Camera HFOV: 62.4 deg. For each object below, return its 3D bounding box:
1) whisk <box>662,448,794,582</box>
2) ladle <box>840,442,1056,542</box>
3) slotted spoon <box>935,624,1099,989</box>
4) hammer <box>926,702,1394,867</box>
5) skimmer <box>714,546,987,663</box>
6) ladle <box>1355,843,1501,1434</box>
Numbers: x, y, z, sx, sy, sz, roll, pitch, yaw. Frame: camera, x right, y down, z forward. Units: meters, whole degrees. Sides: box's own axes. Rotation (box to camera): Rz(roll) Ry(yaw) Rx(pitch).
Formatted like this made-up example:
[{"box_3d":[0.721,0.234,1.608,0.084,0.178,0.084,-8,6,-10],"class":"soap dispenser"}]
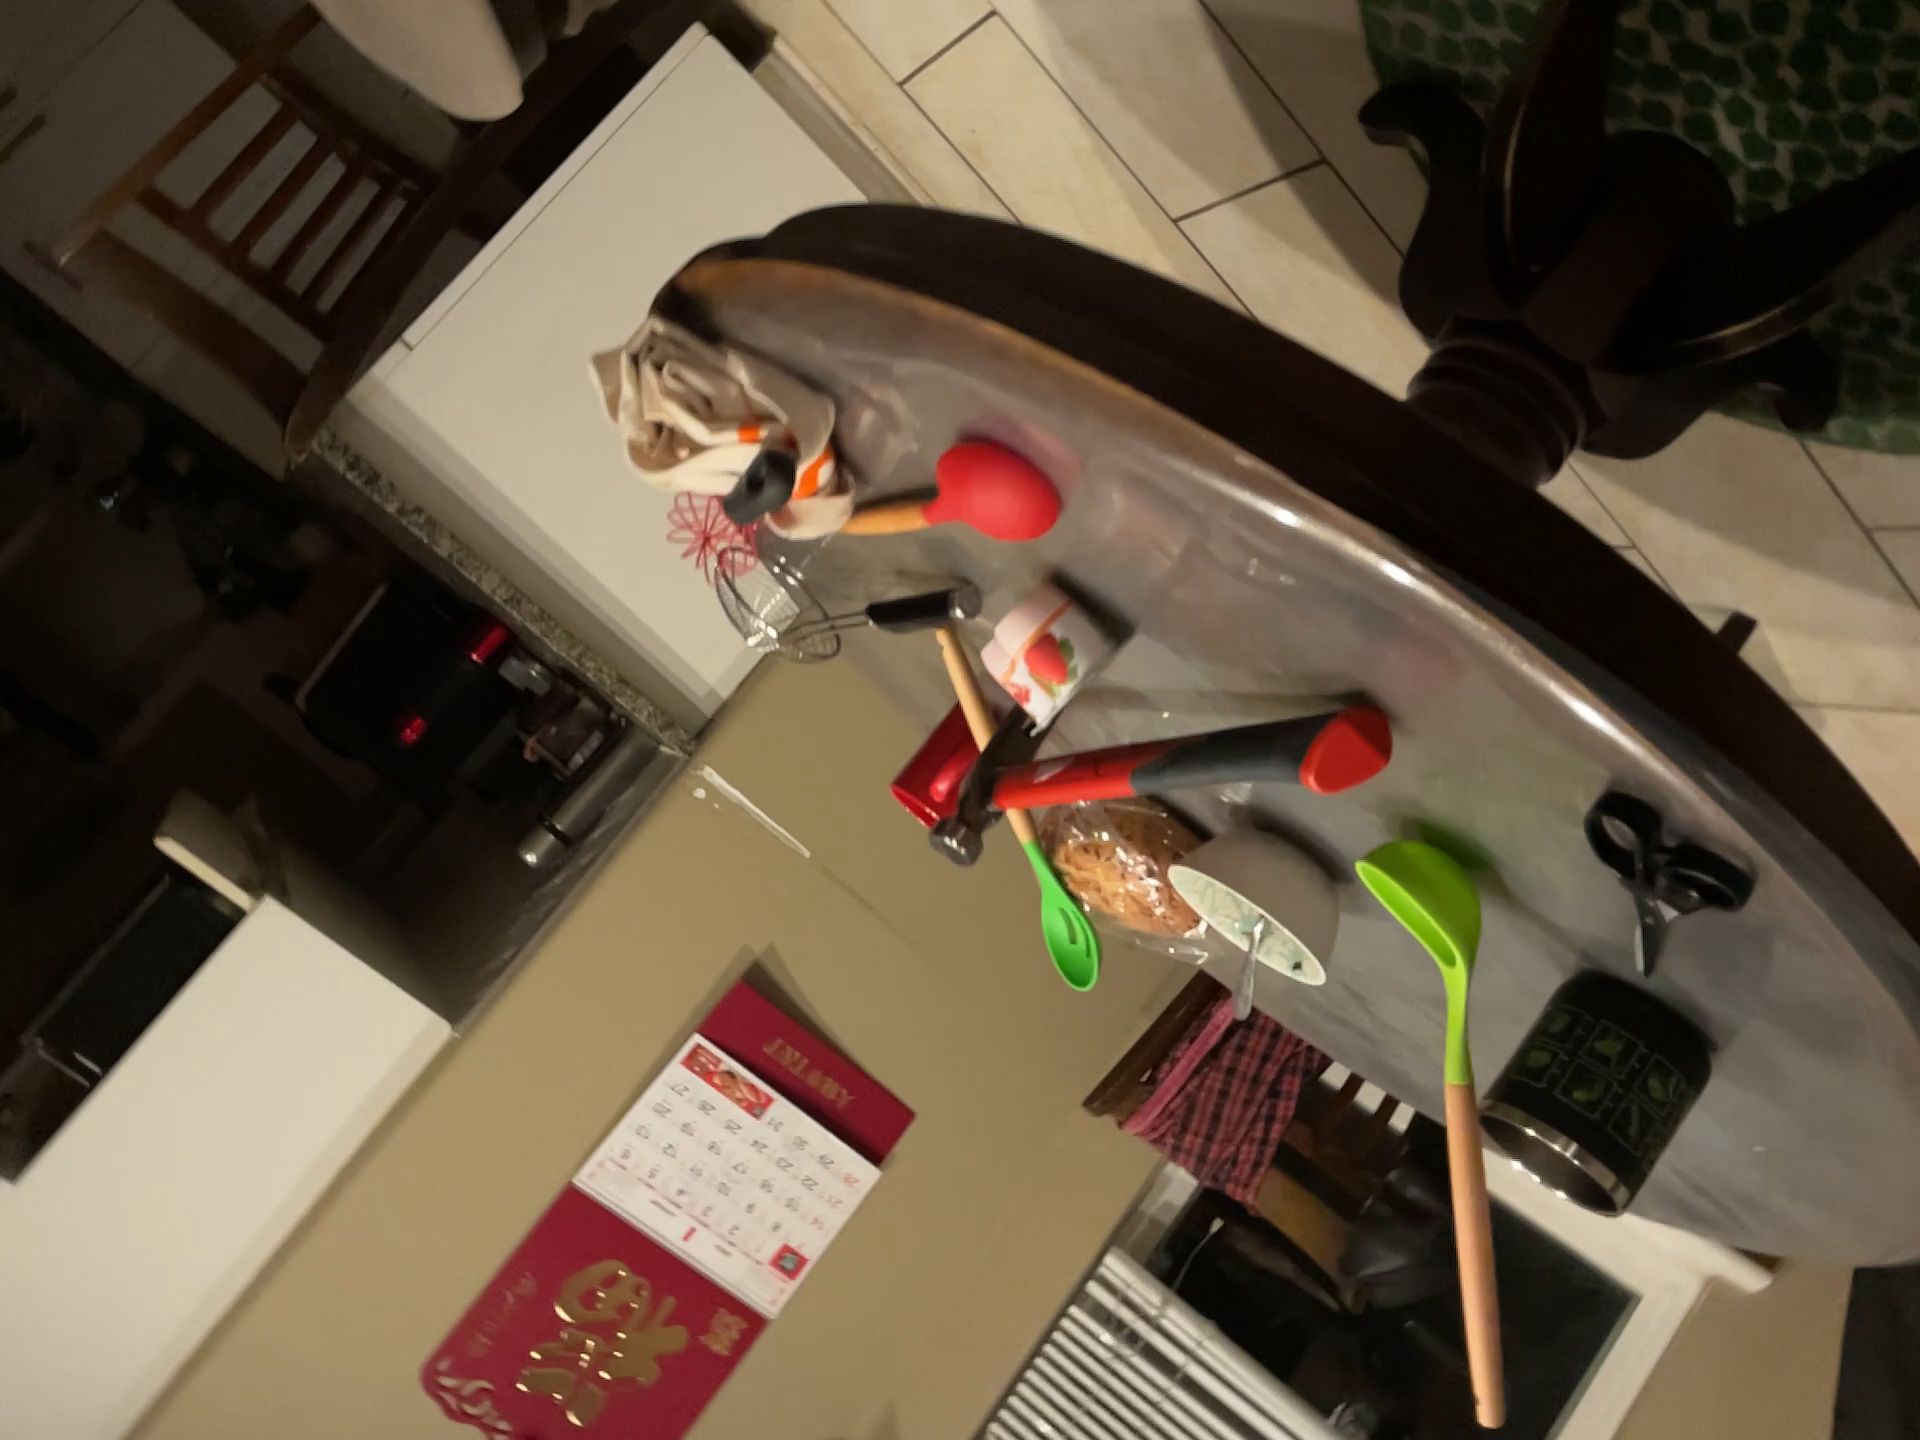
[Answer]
[{"box_3d":[-0.145,-0.135,1.014,0.073,0.073,0.296,42,167,-12],"class":"whisk"},{"box_3d":[-0.025,-0.125,0.941,0.069,0.031,0.316,43,169,-18],"class":"ladle"},{"box_3d":[0.043,0.066,1.192,0.070,0.031,0.313,11,128,57],"class":"slotted spoon"},{"box_3d":[0.113,0.016,0.937,0.038,0.143,0.386,41,156,-19],"class":"hammer"},{"box_3d":[-0.078,-0.098,1.187,0.127,0.090,0.363,36,160,-27],"class":"skimmer"},{"box_3d":[0.261,0.226,0.862,0.062,0.320,0.078,-5,179,0],"class":"ladle"}]
